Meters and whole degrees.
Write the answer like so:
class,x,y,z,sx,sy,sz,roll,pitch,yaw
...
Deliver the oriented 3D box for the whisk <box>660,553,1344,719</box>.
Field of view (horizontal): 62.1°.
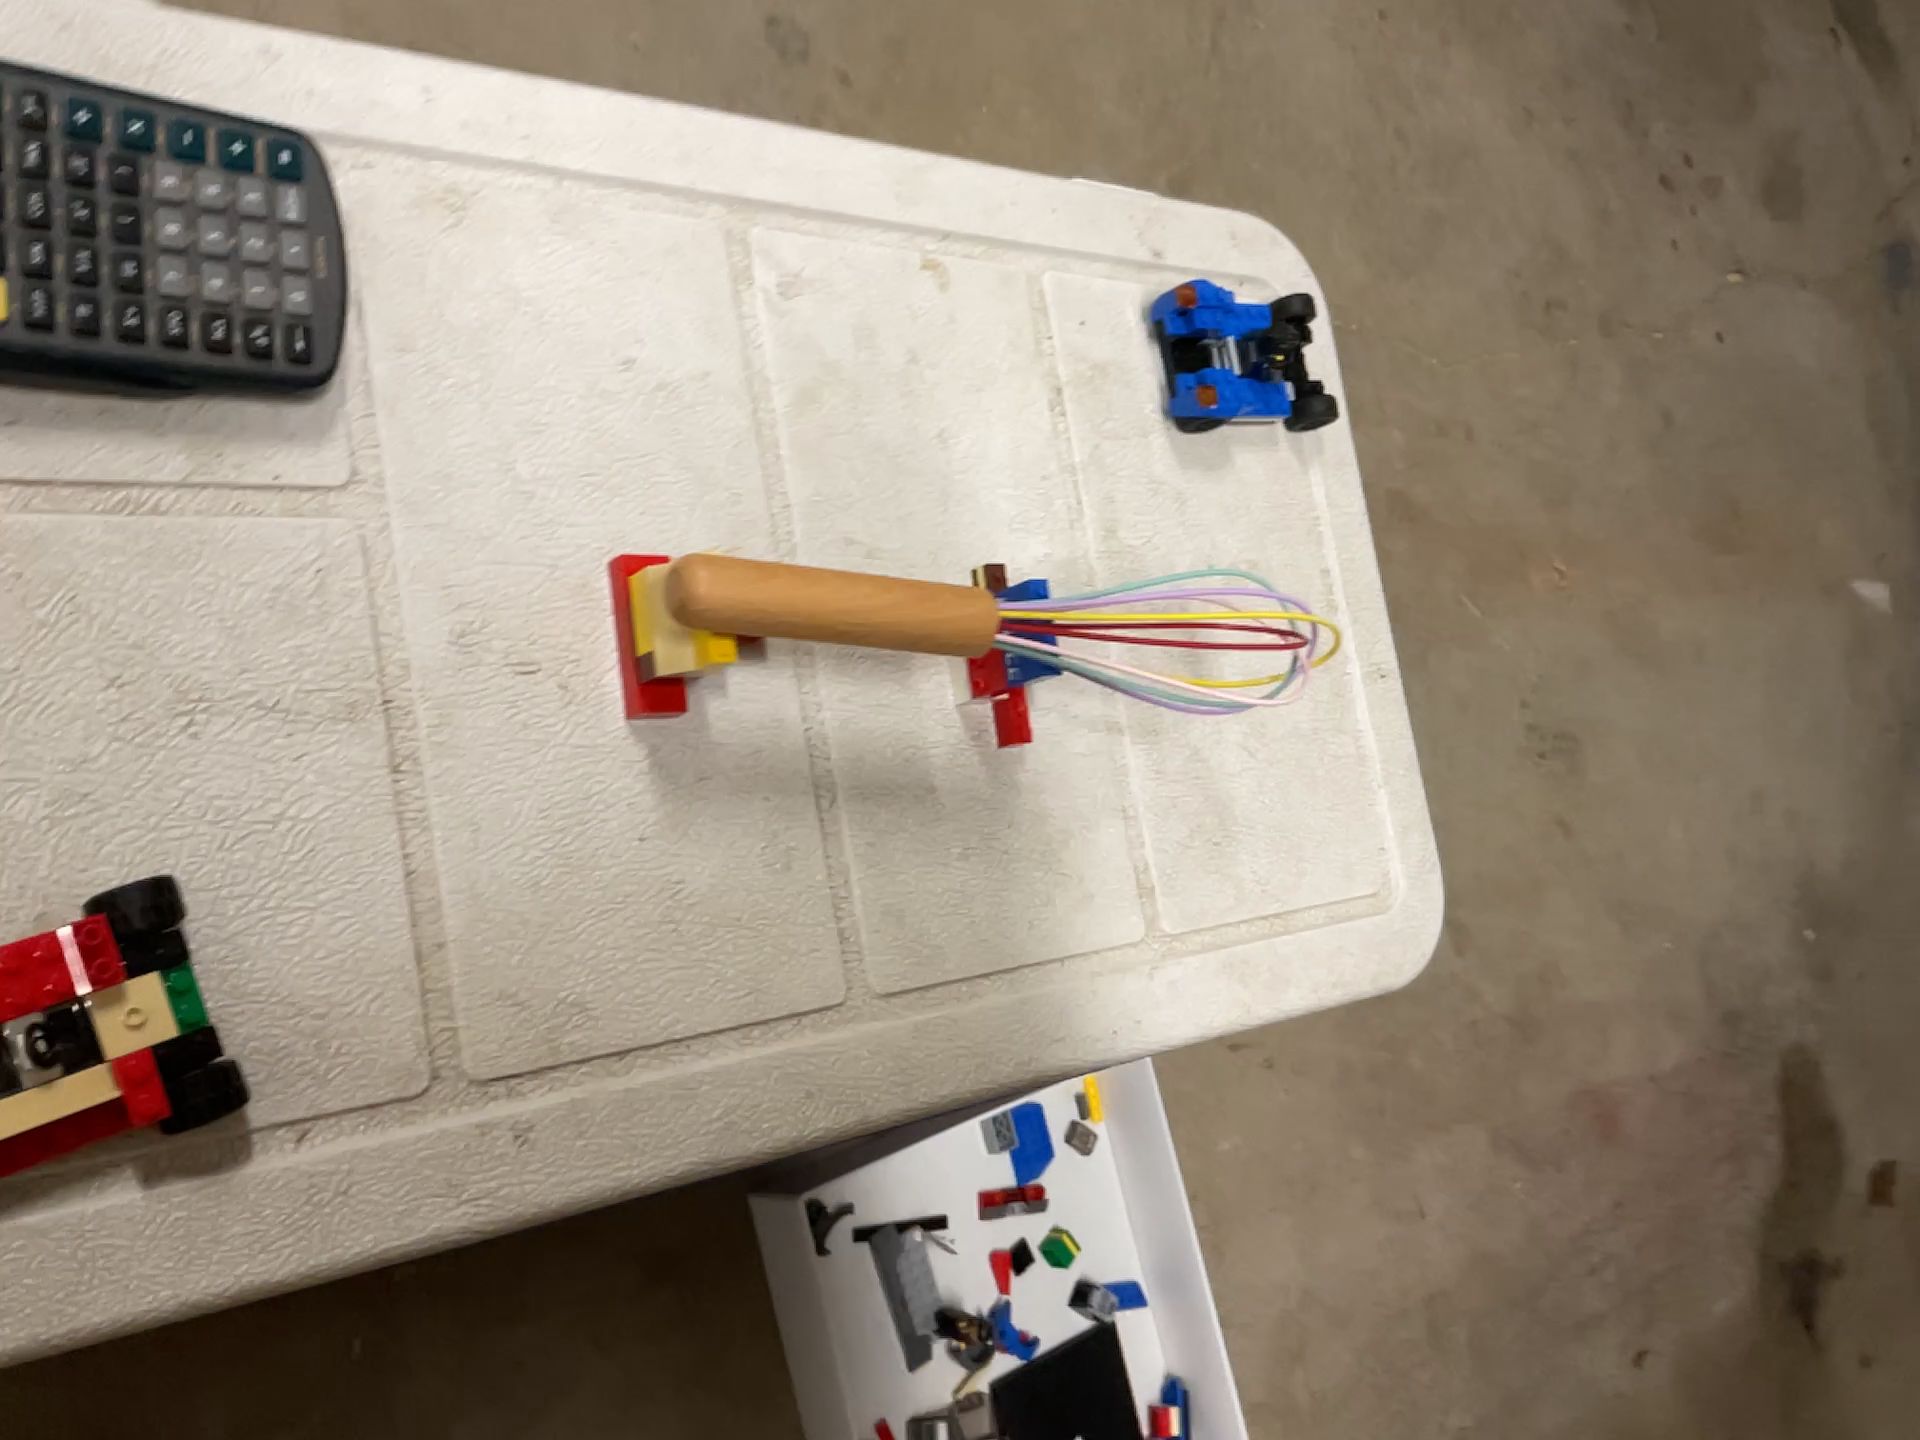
class,x,y,z,sx,sy,sz,roll,pitch,yaw
whisk,0.026,-0.031,0.491,0.245,0.047,0.051,4,89,-33
